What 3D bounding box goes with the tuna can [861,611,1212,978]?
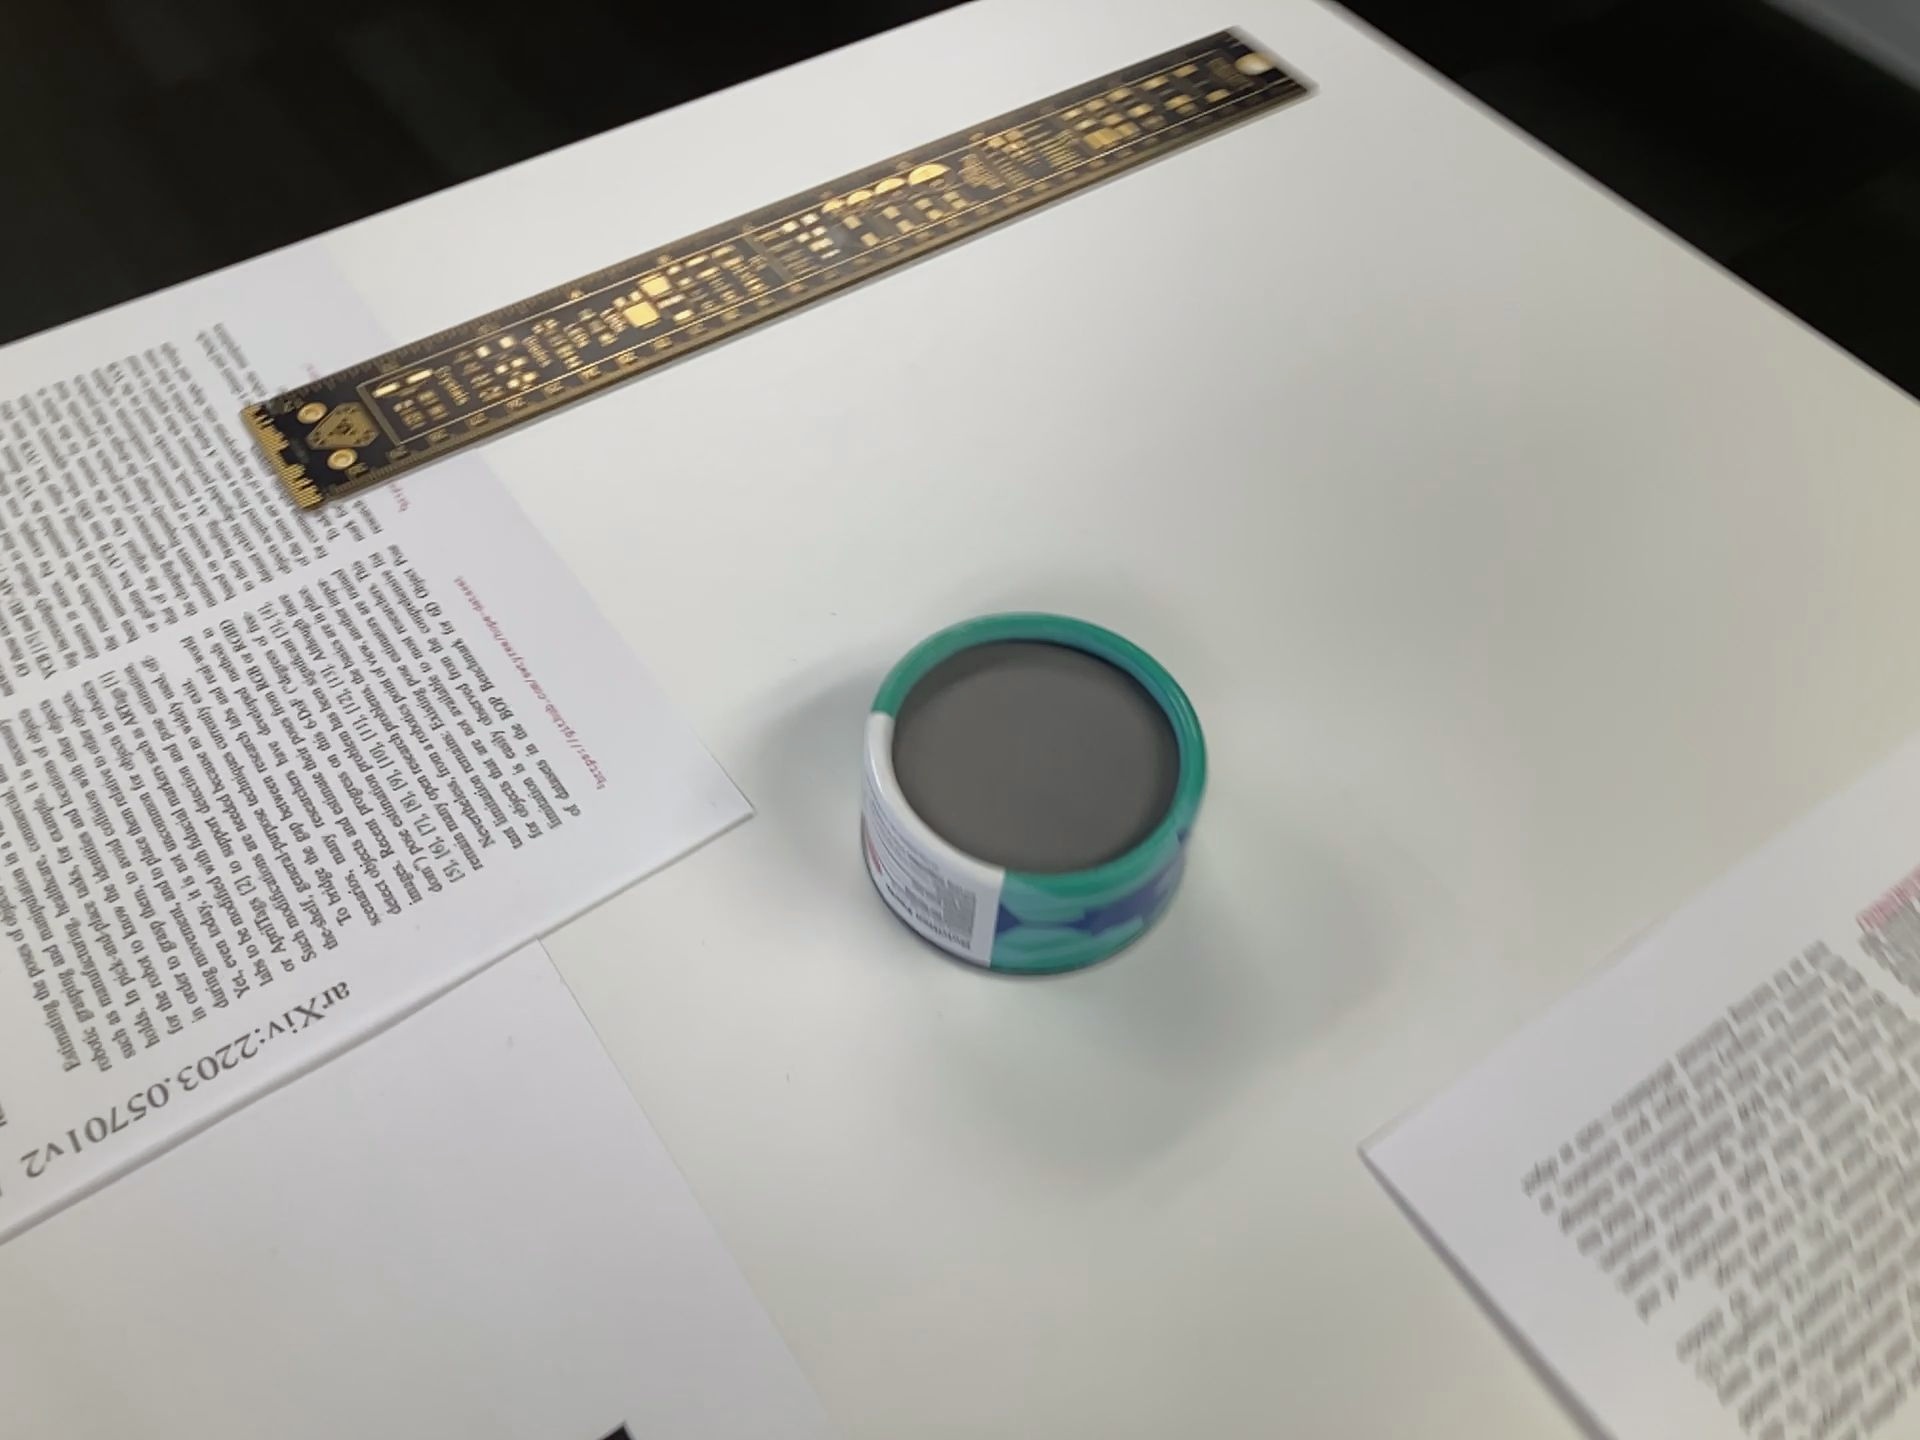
[{"bbox_3d":[0.016,0.012,0.310,0.071,0.033,0.071,2,55,-3],"label":"tuna can"}]
